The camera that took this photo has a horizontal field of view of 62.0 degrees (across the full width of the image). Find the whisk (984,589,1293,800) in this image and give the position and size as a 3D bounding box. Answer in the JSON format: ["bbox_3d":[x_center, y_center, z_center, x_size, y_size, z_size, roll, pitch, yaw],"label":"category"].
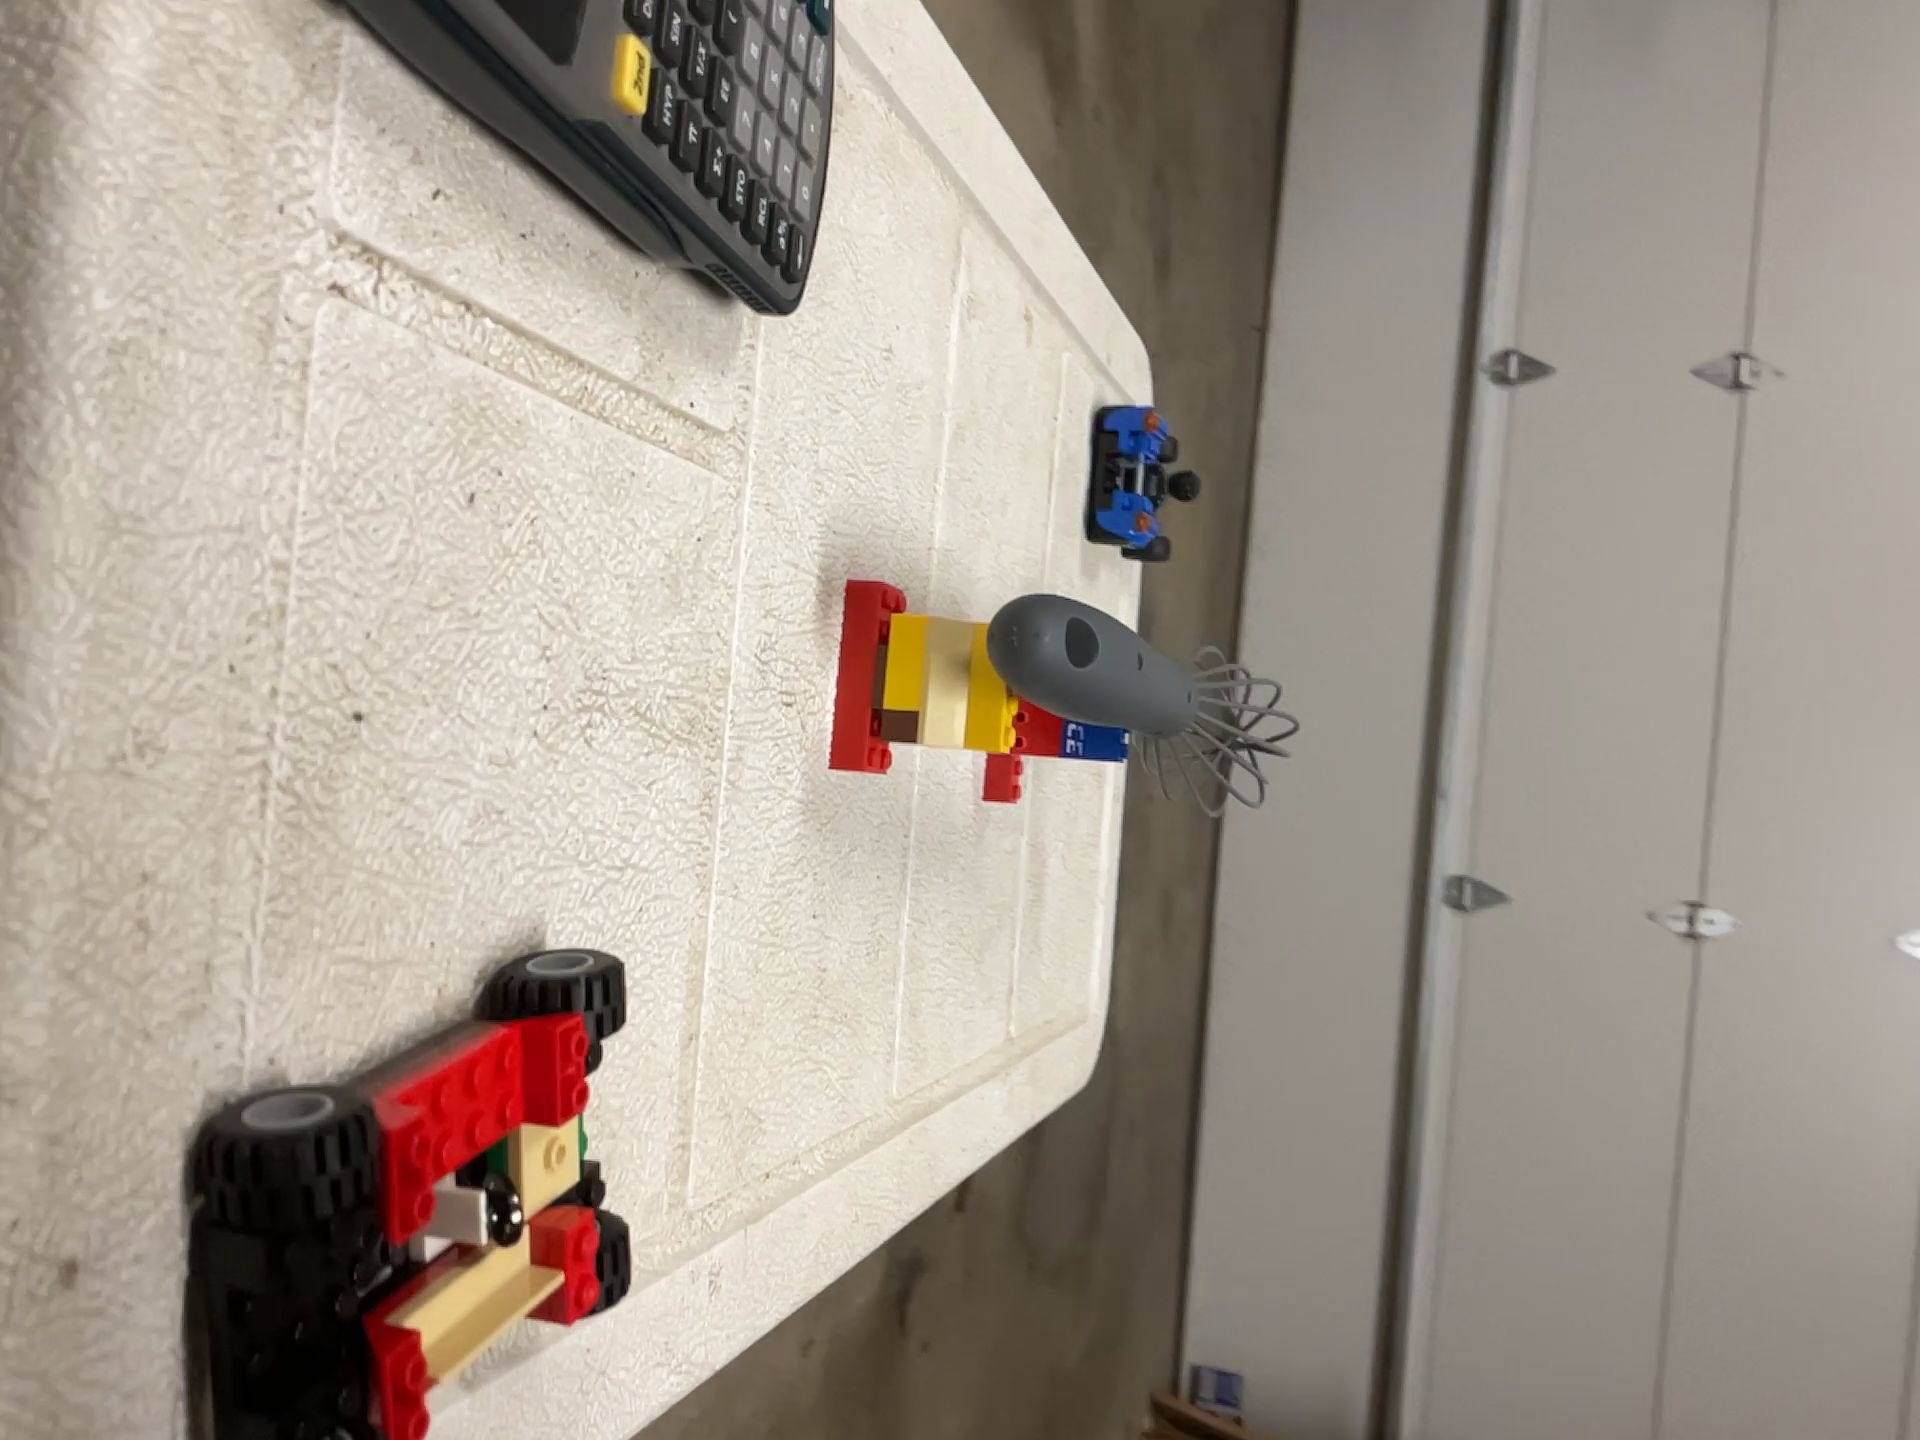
[{"bbox_3d":[0.055,-0.008,0.463,0.239,0.055,0.055,18,74,-68],"label":"whisk"}]
